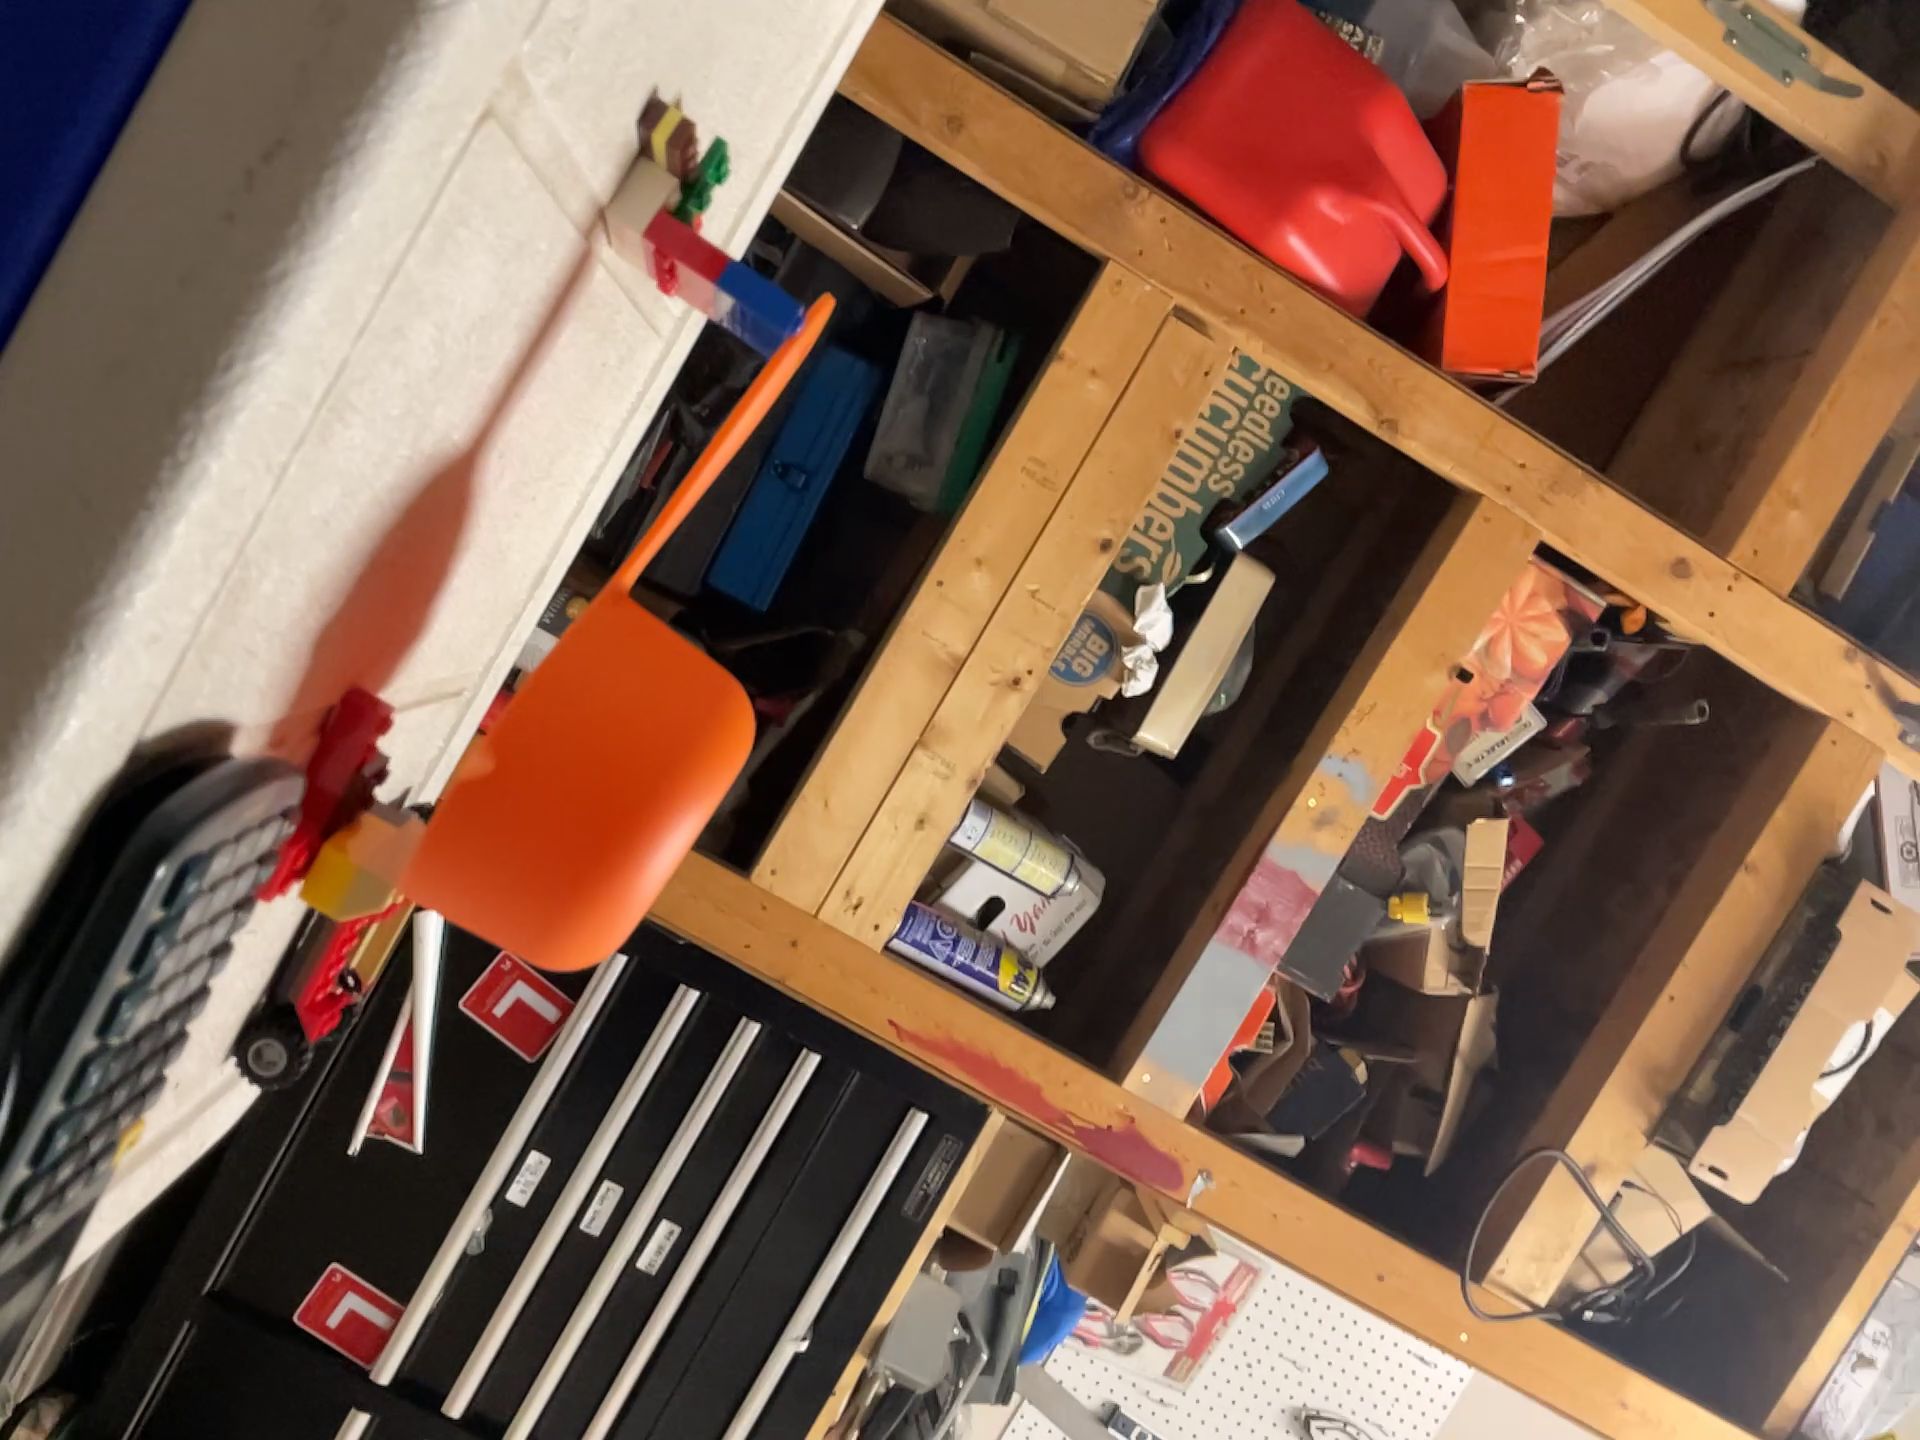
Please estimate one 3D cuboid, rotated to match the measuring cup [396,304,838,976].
[{"bbox_3d":[-0.063,-0.016,0.385,0.173,0.052,0.095,-54,-173,0],"label":"measuring cup"}]
